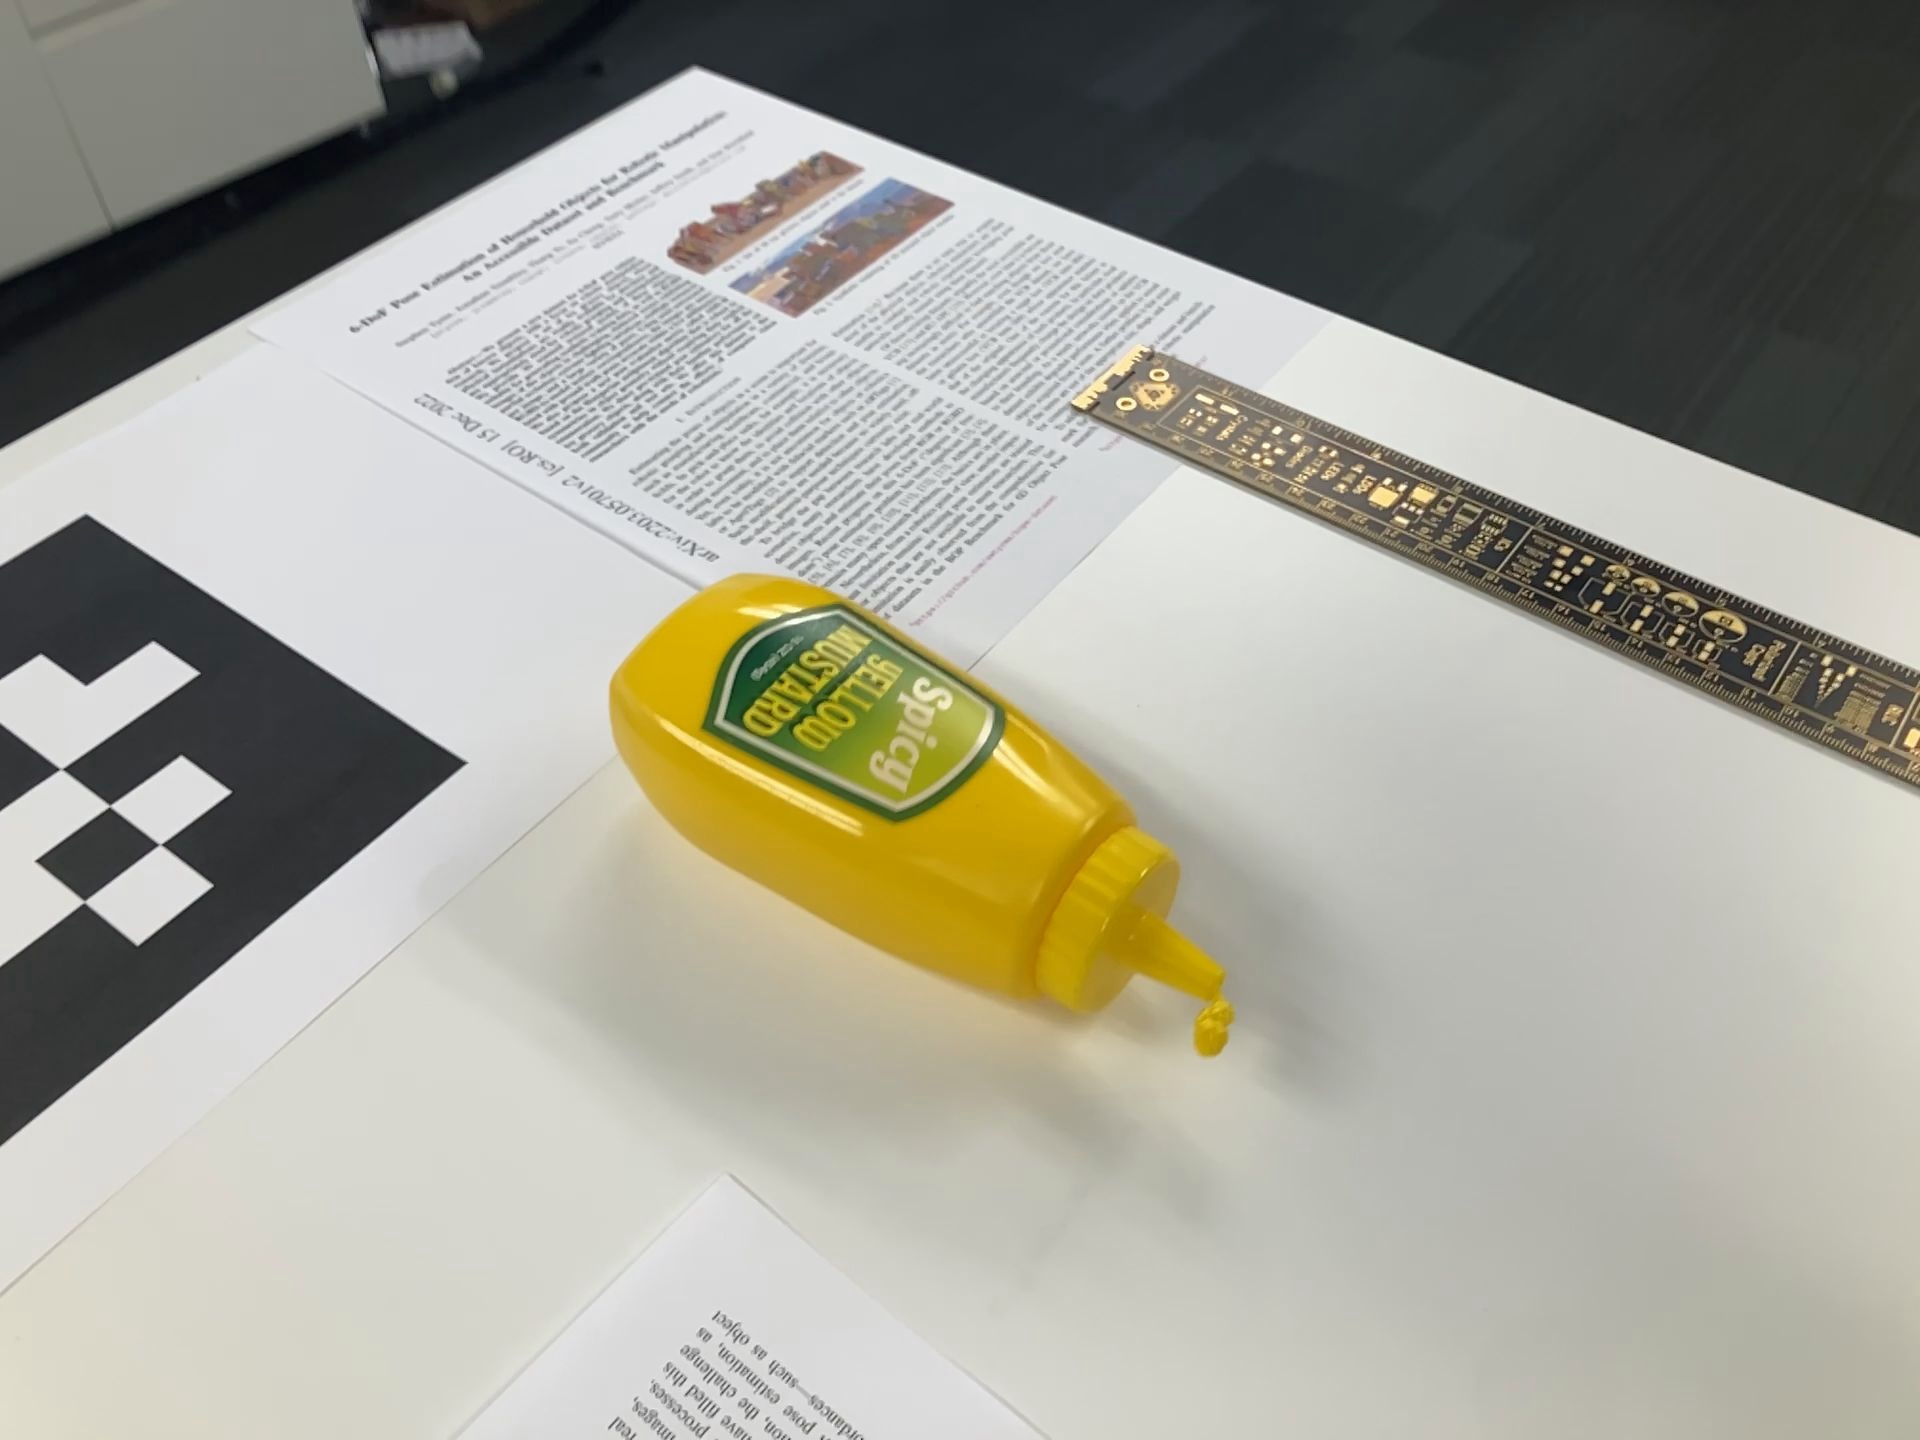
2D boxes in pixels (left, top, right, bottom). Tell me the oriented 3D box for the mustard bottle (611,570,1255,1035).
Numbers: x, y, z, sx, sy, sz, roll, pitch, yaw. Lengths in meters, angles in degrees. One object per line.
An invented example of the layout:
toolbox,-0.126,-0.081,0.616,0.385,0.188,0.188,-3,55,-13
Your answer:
mustard bottle,-0.003,0.022,0.351,0.160,0.049,0.065,28,55,23
